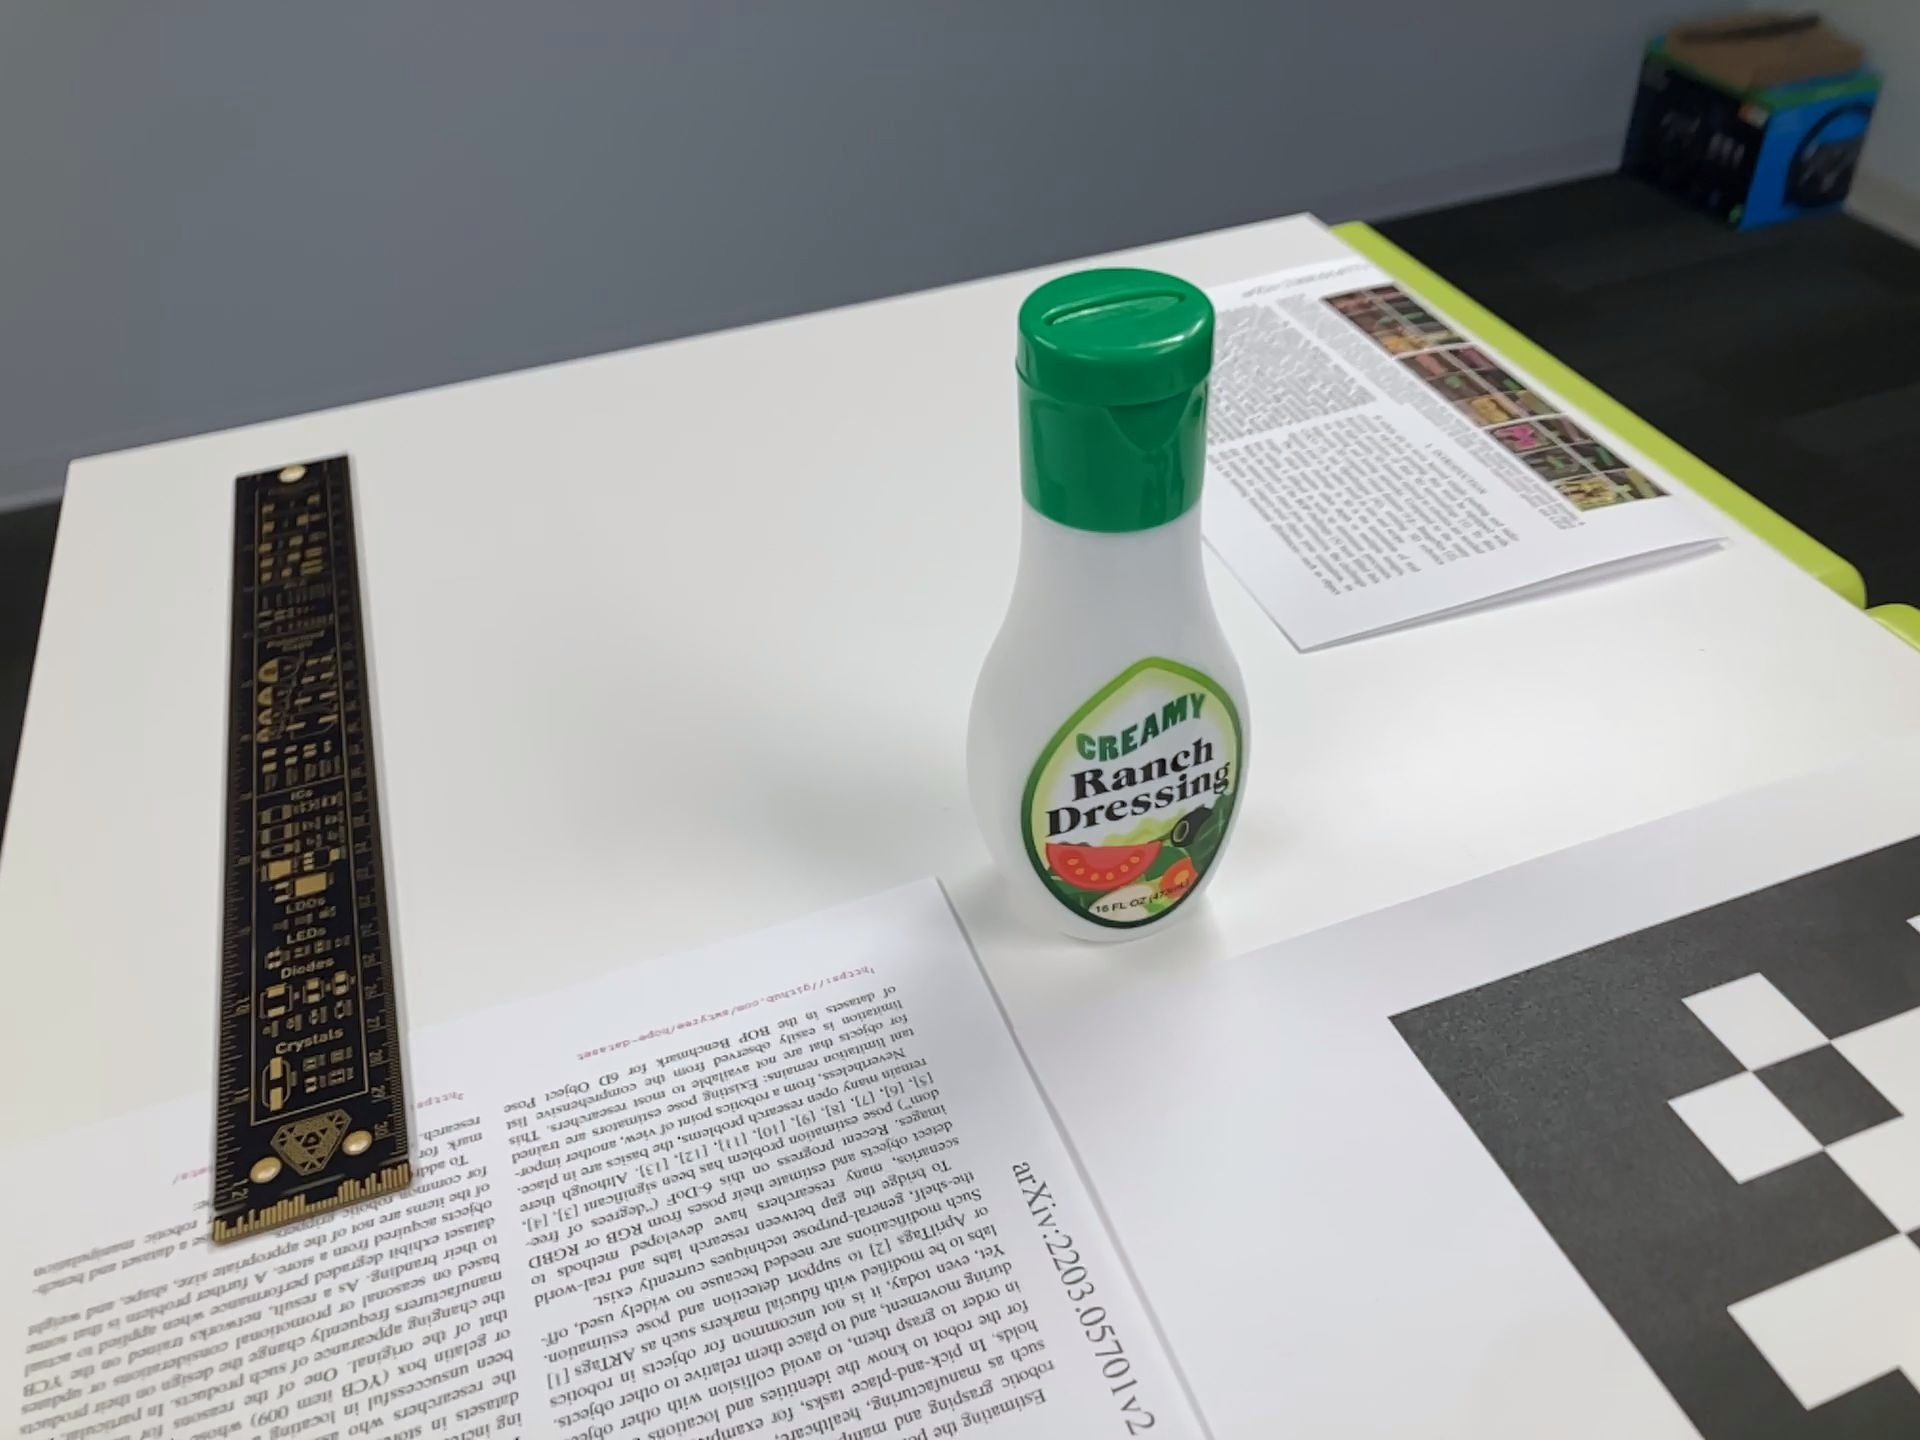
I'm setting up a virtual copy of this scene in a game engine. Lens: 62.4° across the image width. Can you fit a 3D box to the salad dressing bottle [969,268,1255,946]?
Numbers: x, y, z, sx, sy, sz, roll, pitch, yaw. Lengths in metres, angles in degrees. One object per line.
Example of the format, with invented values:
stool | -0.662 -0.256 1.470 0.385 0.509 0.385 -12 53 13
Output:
salad dressing bottle | 0.032 -0.018 0.334 0.064 0.147 0.044 -15 40 -13
